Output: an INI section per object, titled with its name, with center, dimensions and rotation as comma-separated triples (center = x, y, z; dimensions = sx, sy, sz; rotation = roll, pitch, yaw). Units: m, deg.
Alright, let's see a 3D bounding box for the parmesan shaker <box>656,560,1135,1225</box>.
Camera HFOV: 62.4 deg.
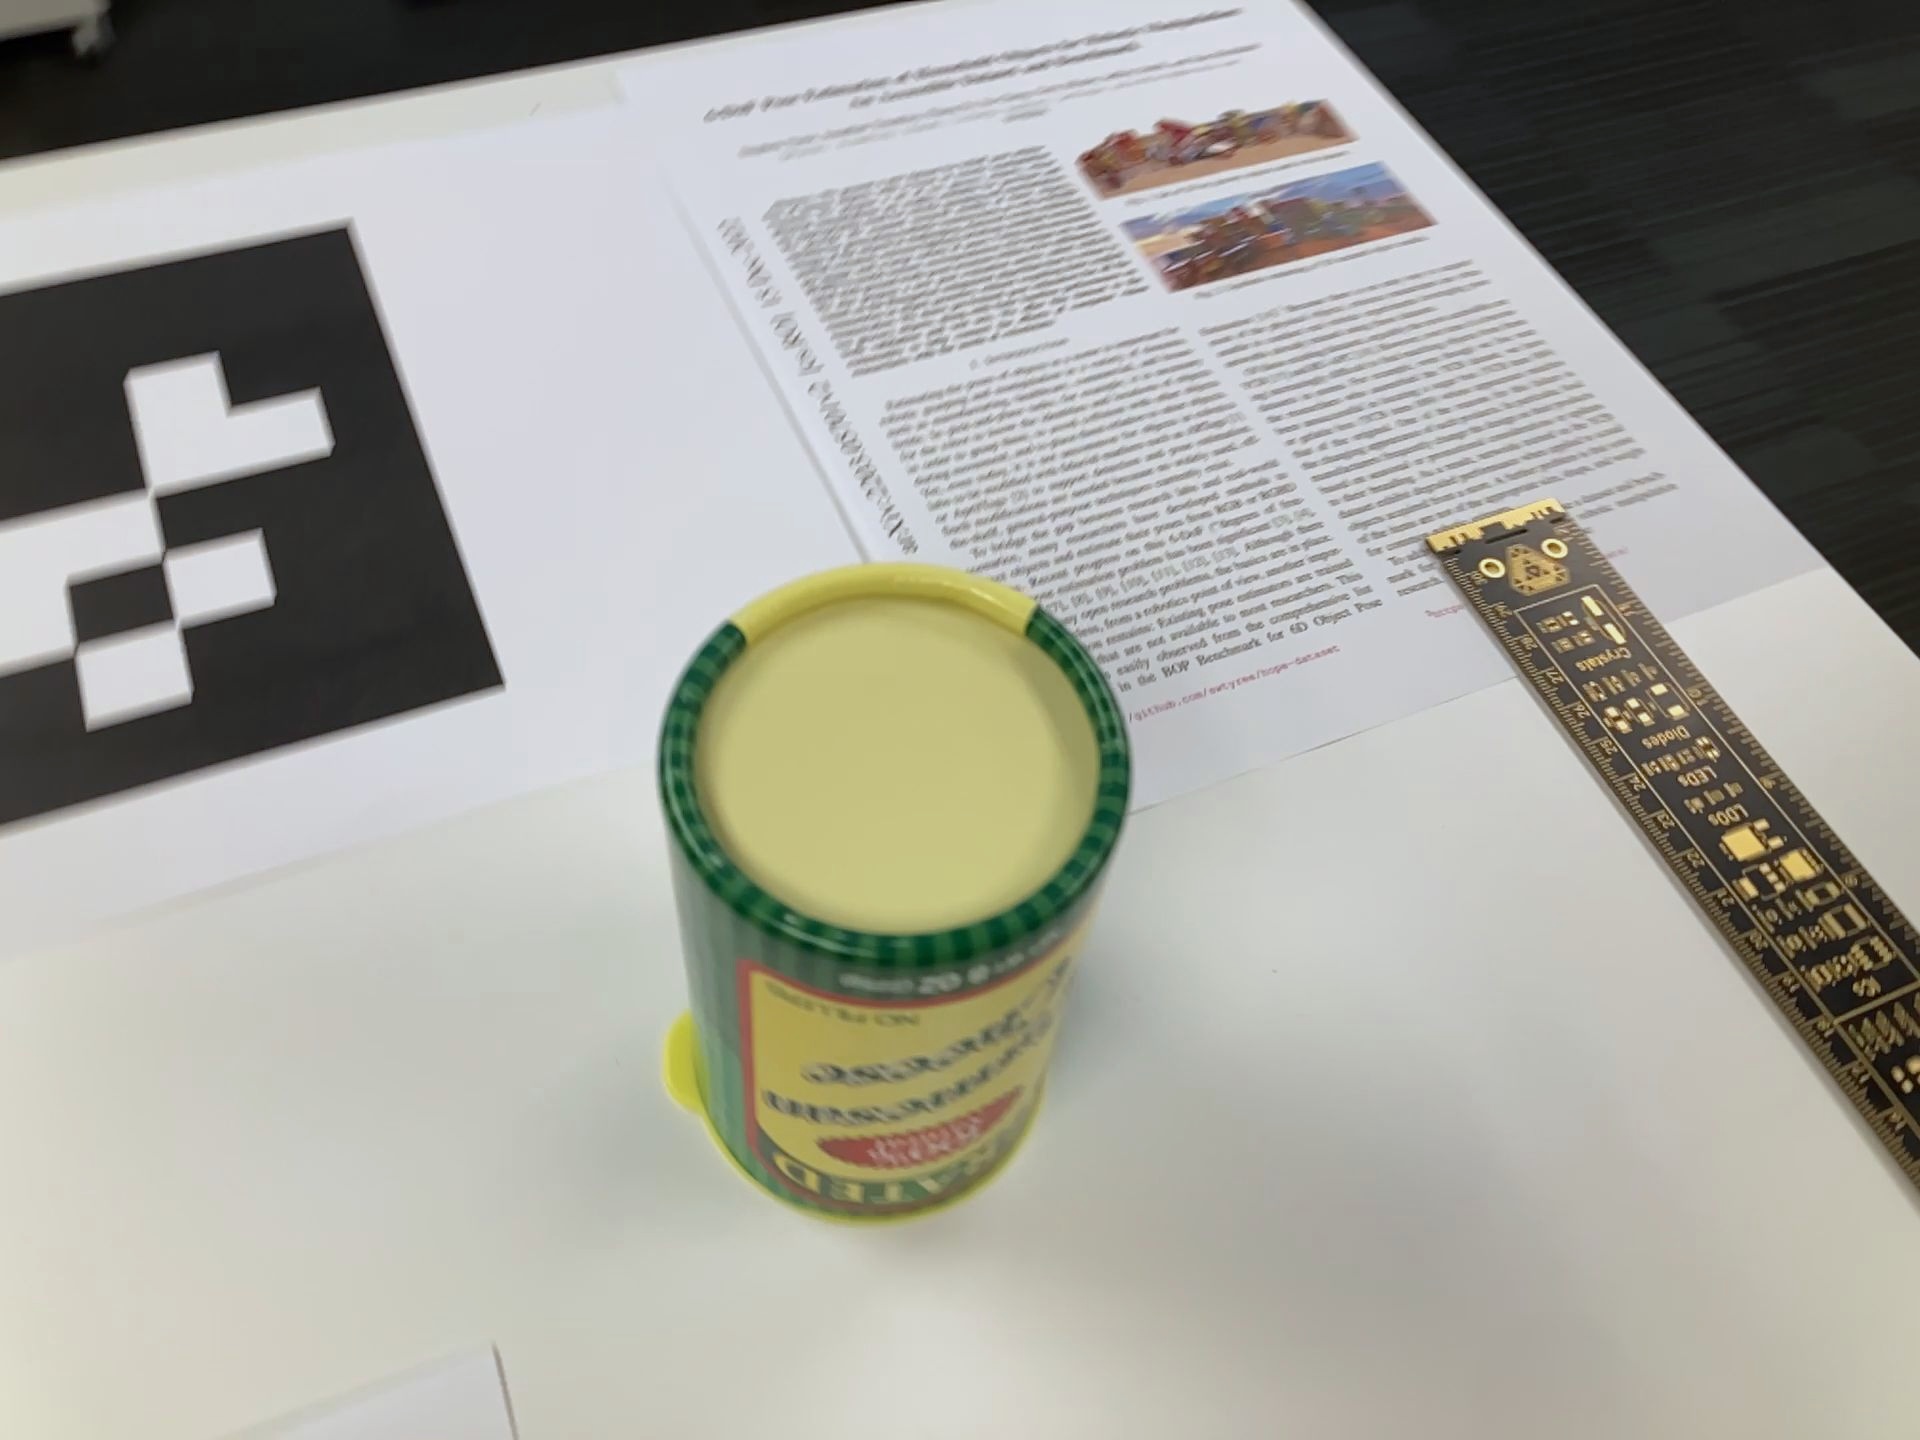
[parmesan shaker]
center = -0.015, 0.033, 0.253
dimensions = 0.071, 0.103, 0.071
rotation = 2, 55, -3
